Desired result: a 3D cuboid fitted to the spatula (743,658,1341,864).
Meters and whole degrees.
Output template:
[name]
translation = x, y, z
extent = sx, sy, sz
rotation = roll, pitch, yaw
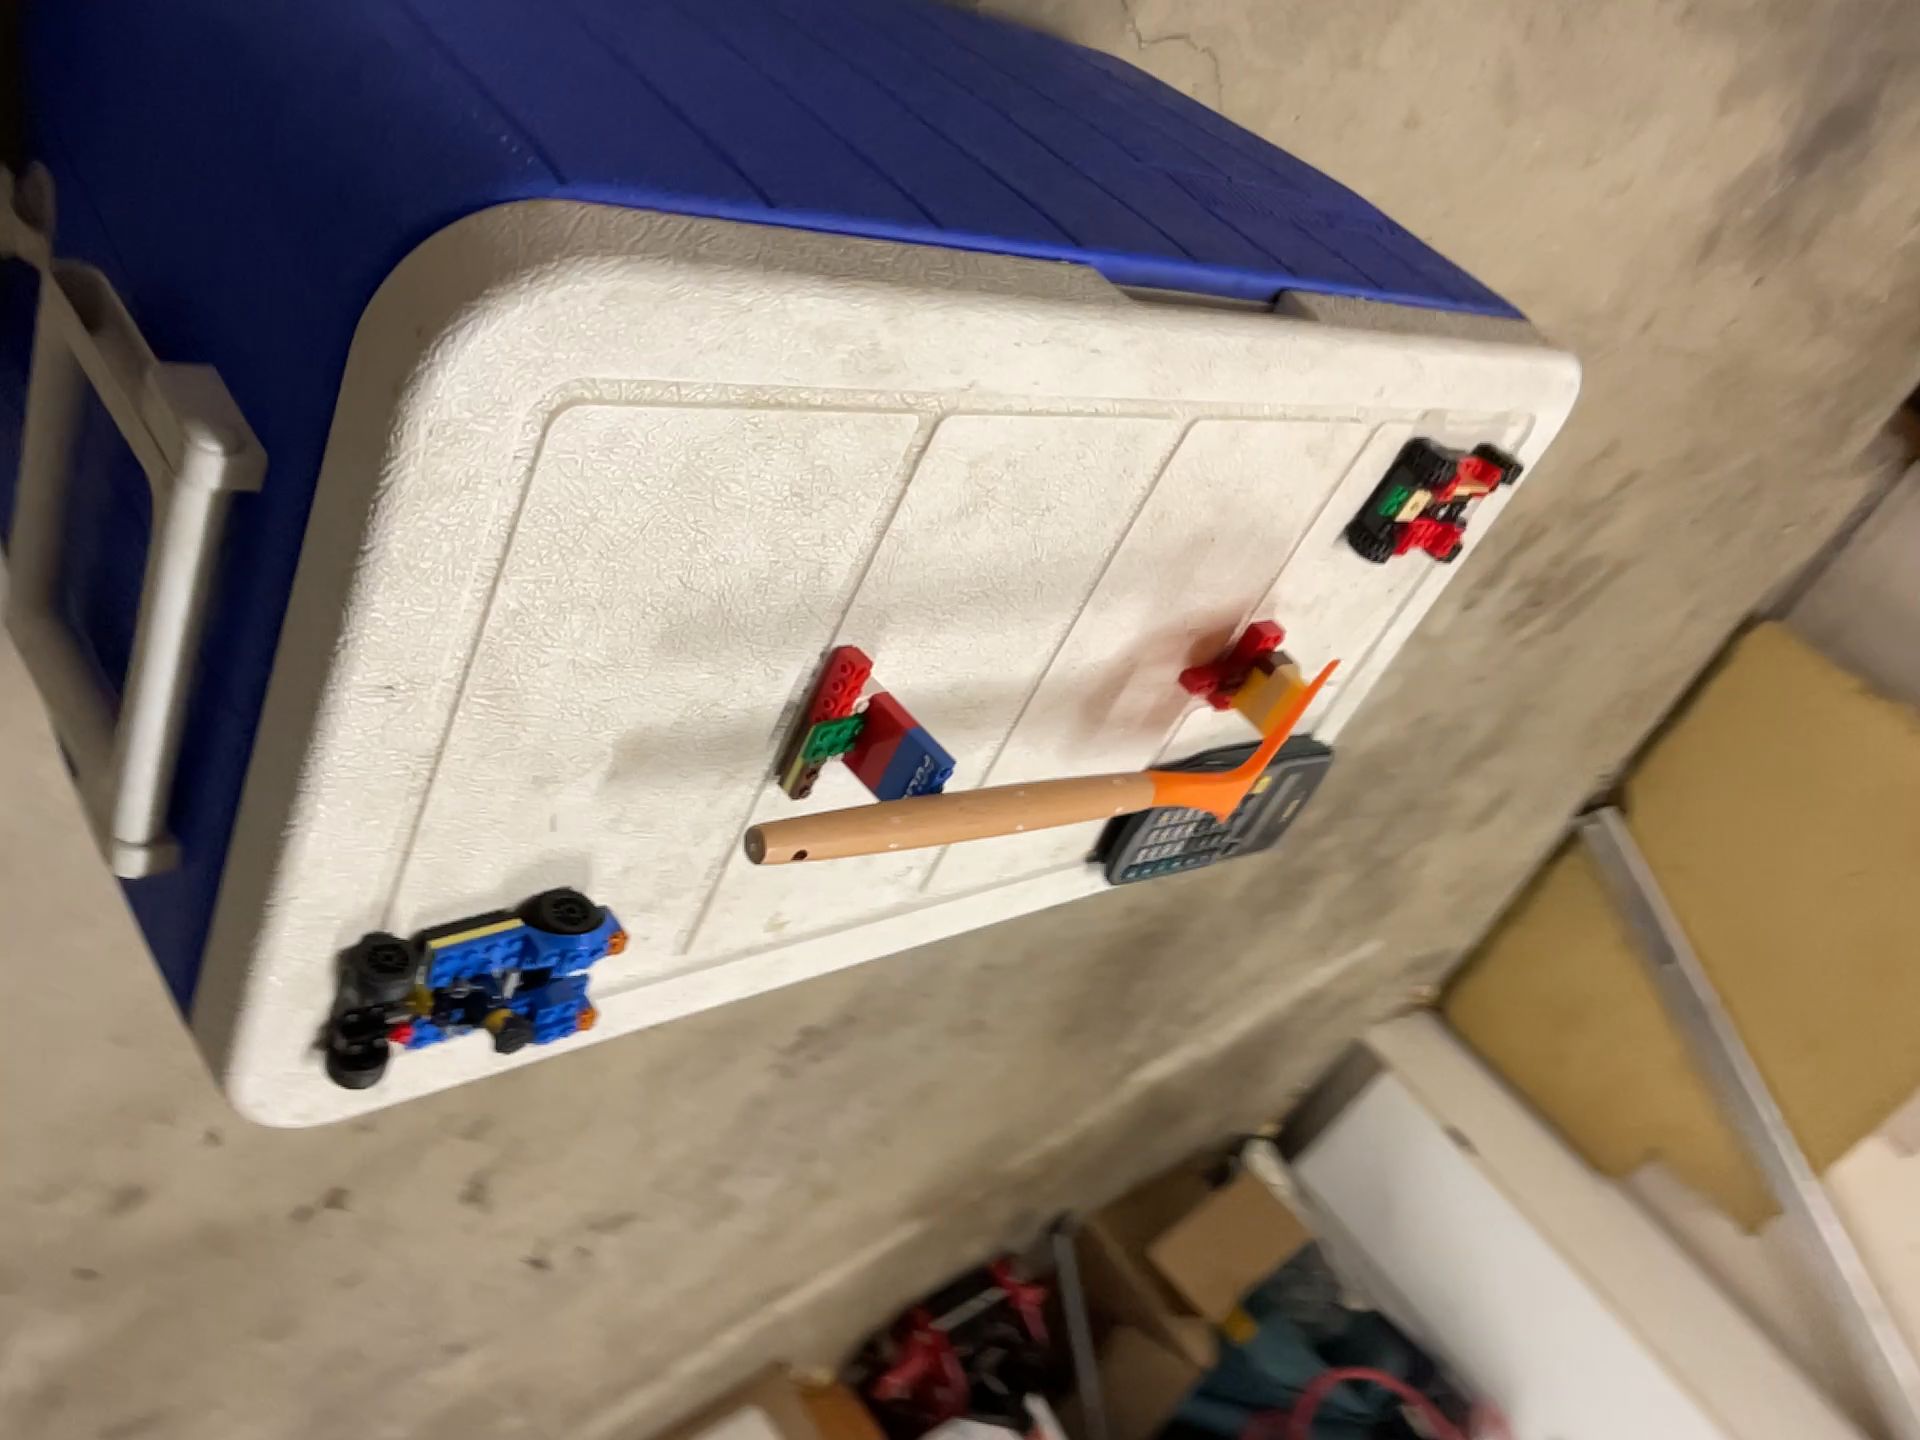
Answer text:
[spatula]
translation = 0.048, 0.023, 0.613
extent = 0.323, 0.041, 0.081
rotation = -5, 136, -43
